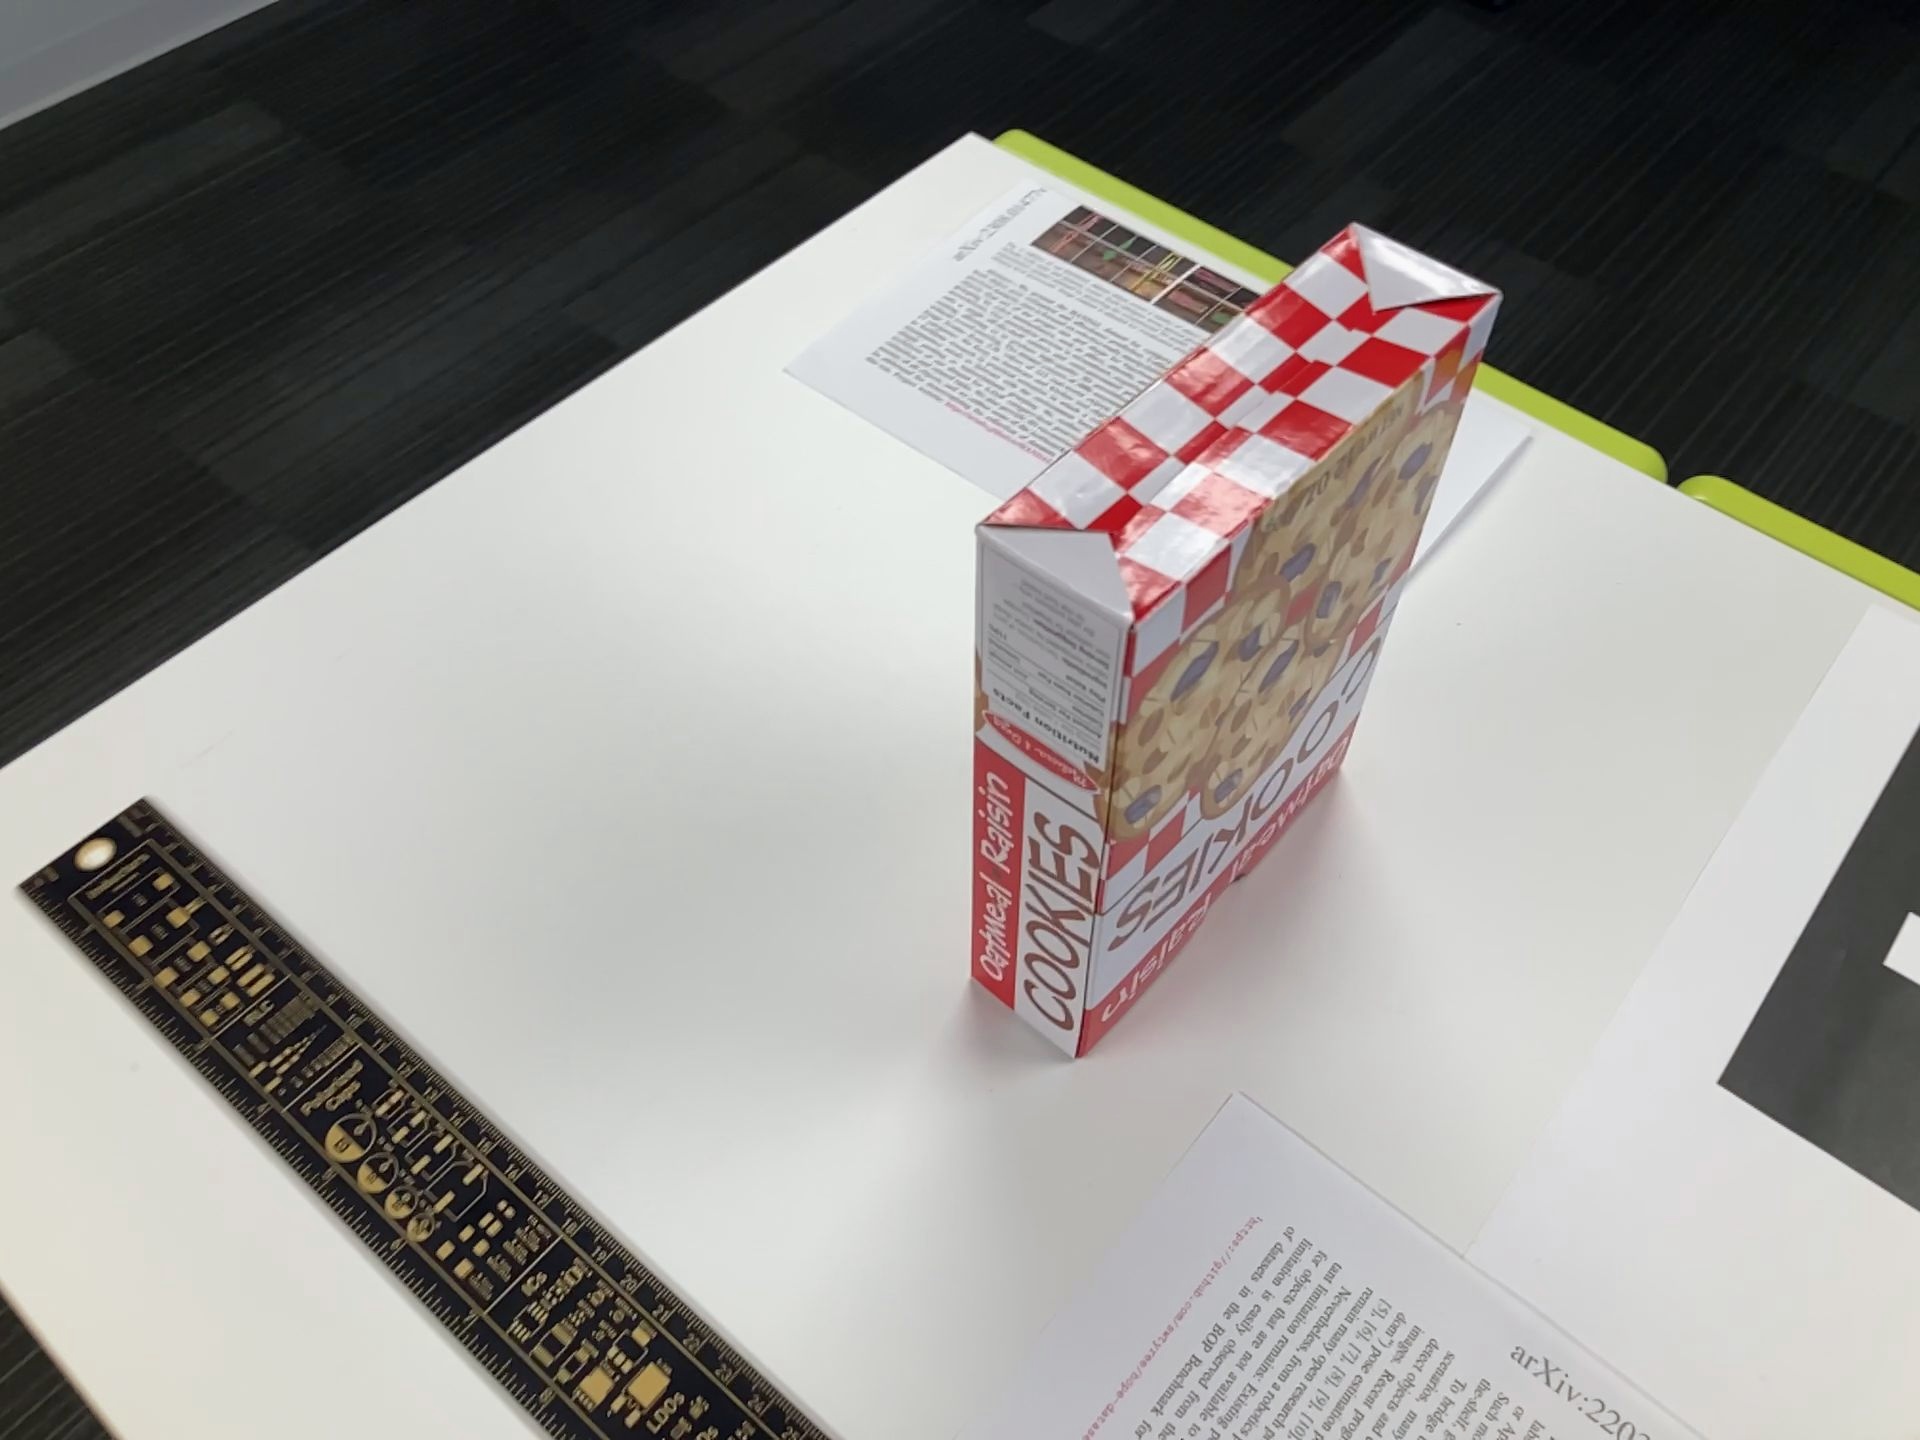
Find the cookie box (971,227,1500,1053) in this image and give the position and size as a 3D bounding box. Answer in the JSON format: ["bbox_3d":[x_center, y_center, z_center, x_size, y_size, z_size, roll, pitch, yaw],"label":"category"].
[{"bbox_3d":[0.057,-0.010,0.370,0.040,0.167,0.123,35,59,24],"label":"cookie box"}]
